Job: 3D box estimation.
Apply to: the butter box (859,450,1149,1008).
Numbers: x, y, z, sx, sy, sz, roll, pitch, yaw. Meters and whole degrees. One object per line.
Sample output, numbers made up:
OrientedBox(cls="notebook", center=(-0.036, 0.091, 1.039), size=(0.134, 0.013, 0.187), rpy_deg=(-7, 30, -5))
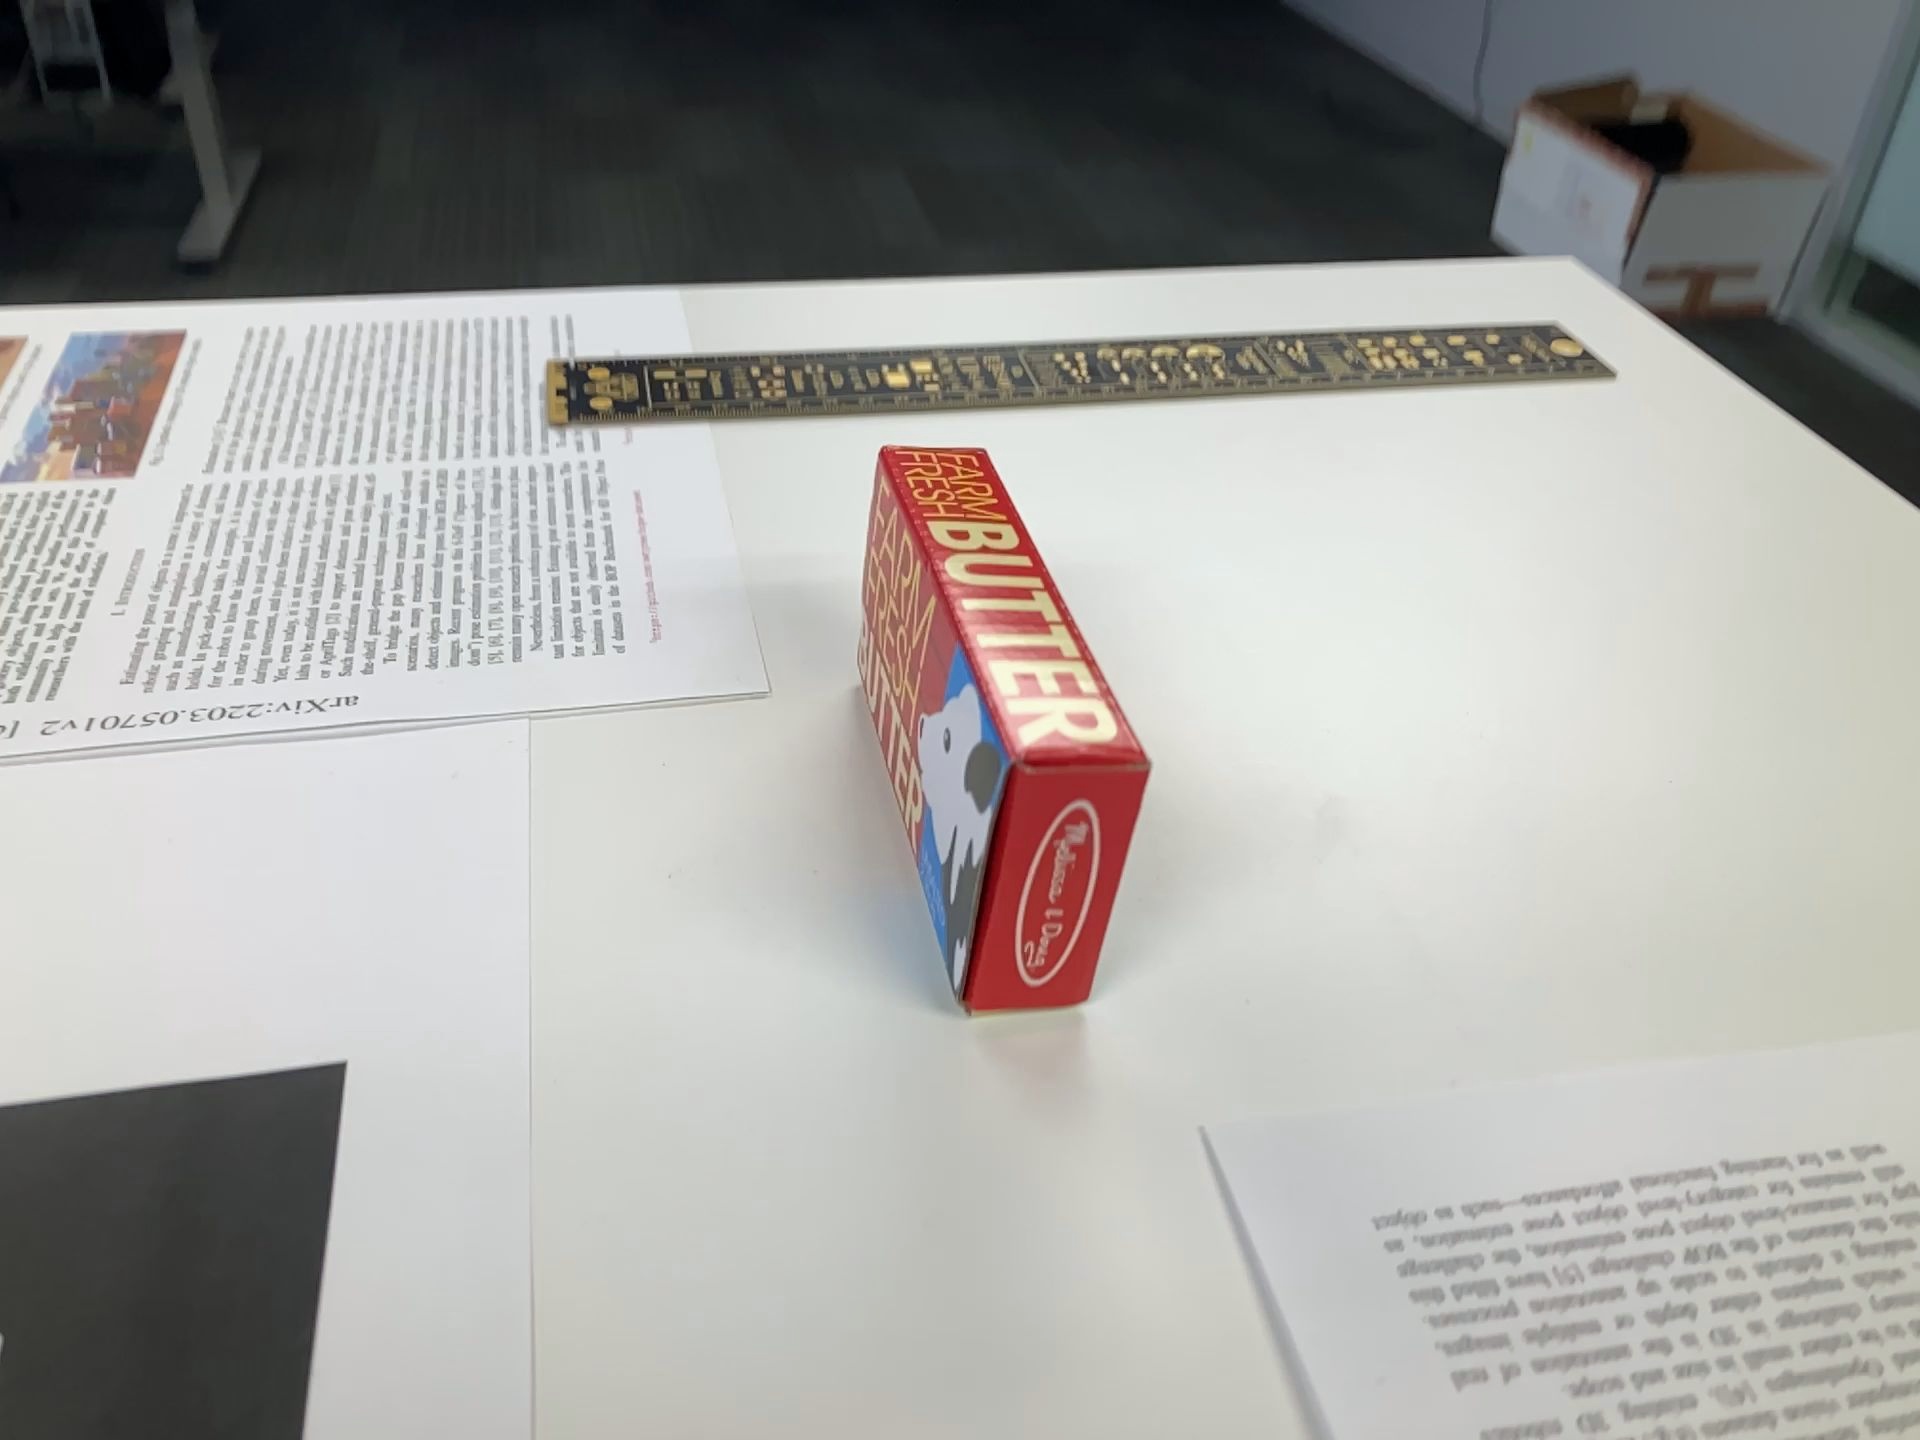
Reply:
OrientedBox(cls="butter box", center=(0.003, -0.003, 0.290), size=(0.024, 0.053, 0.103), rpy_deg=(-1, 37, -15))
